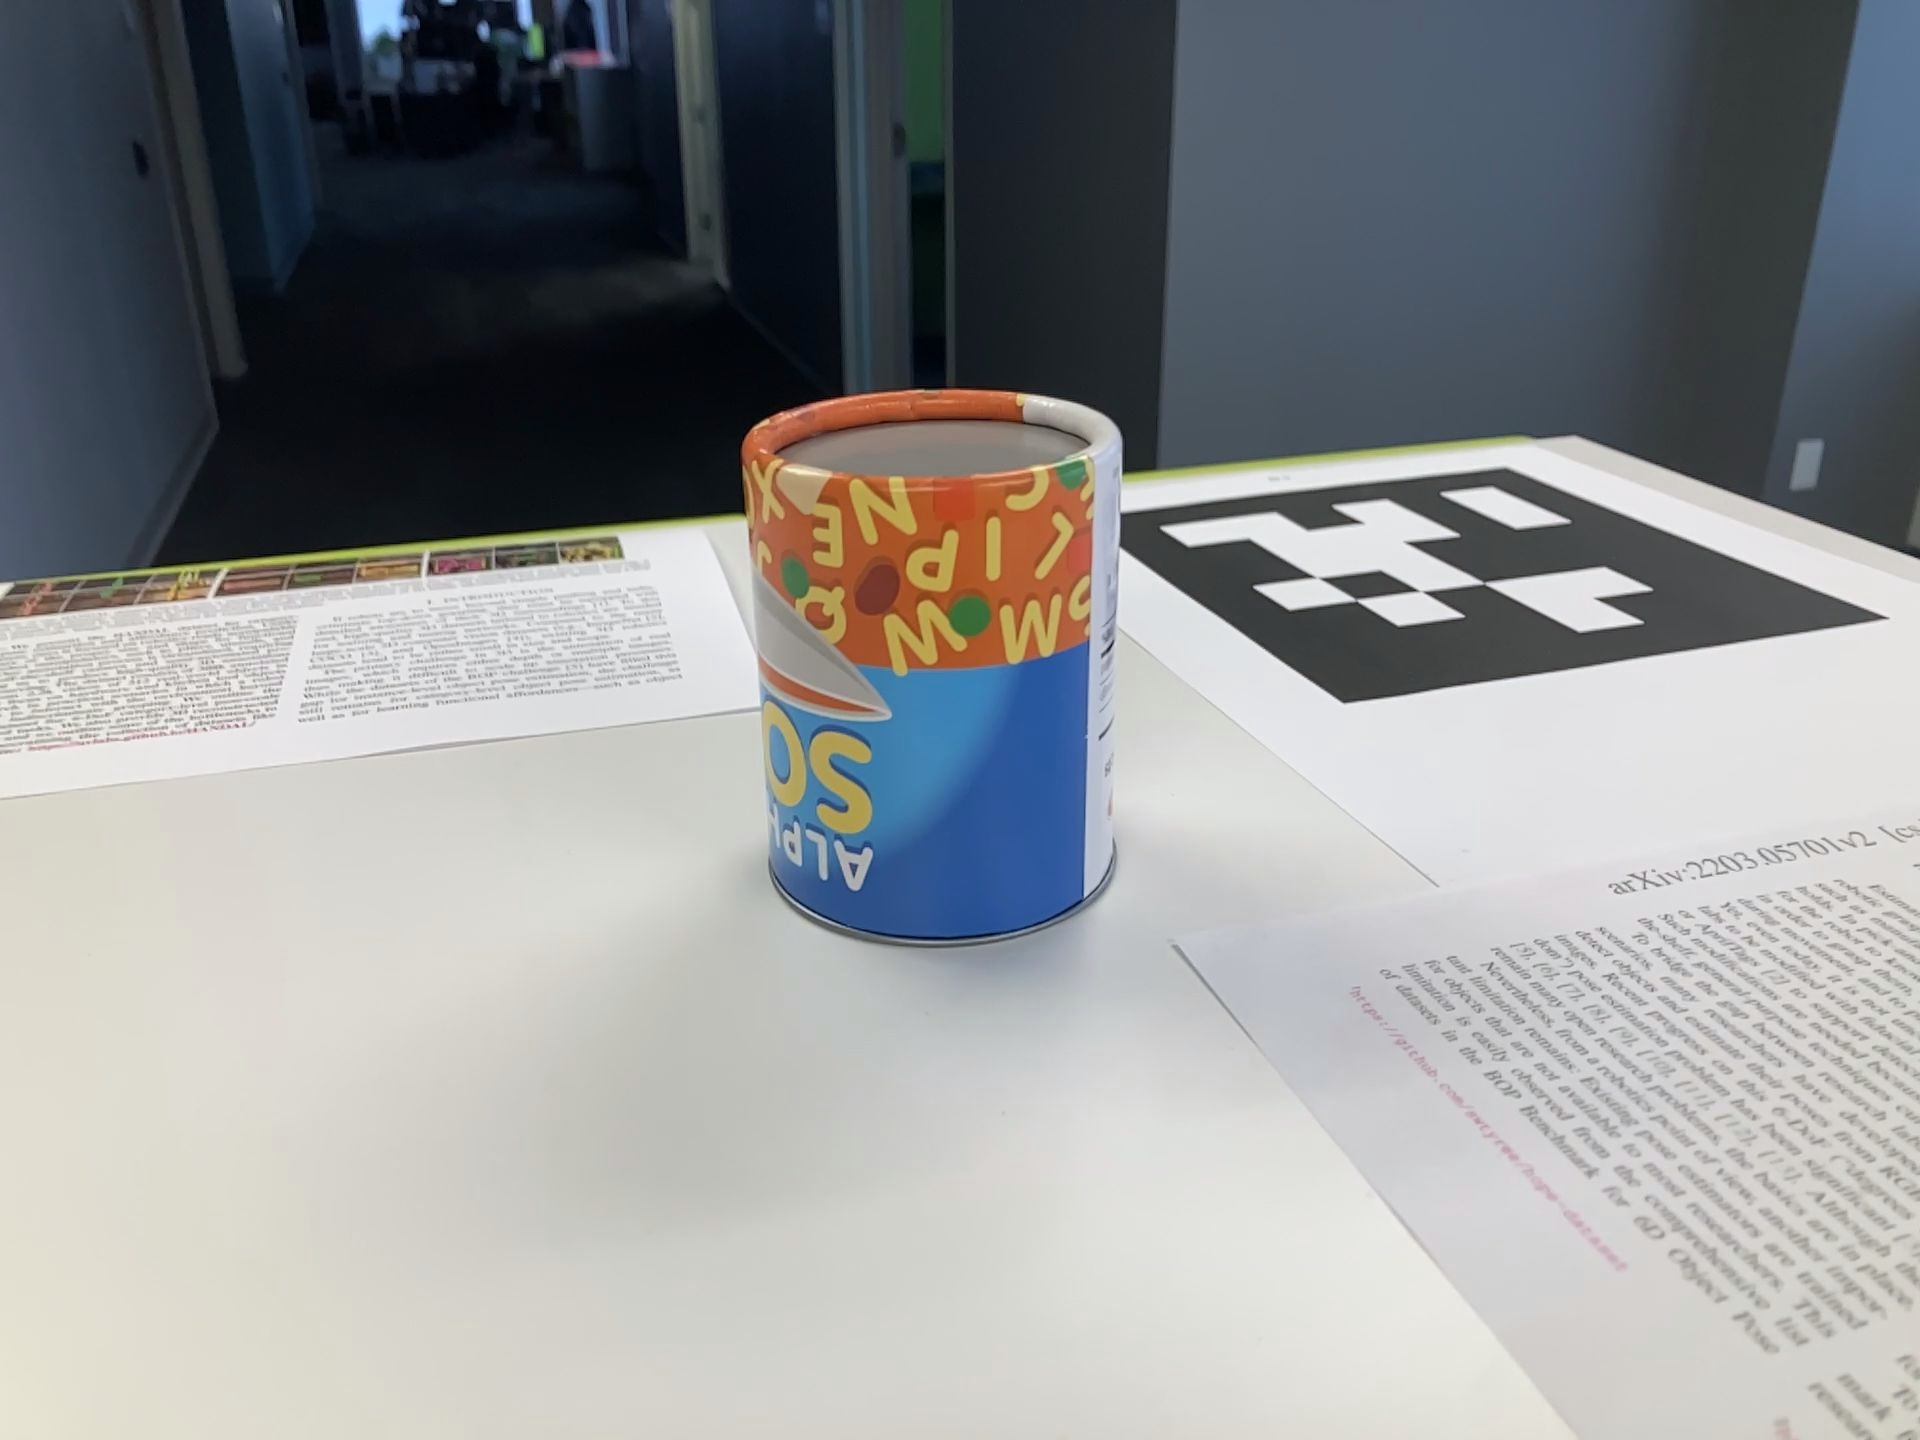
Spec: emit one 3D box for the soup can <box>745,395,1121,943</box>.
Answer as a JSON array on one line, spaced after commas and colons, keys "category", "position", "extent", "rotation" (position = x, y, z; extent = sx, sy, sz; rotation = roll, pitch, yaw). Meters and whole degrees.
[{"category": "soup can", "position": [-0.007, -0.011, 0.291], "extent": [0.071, 0.084, 0.071], "rotation": [-1, 23, 1]}]
